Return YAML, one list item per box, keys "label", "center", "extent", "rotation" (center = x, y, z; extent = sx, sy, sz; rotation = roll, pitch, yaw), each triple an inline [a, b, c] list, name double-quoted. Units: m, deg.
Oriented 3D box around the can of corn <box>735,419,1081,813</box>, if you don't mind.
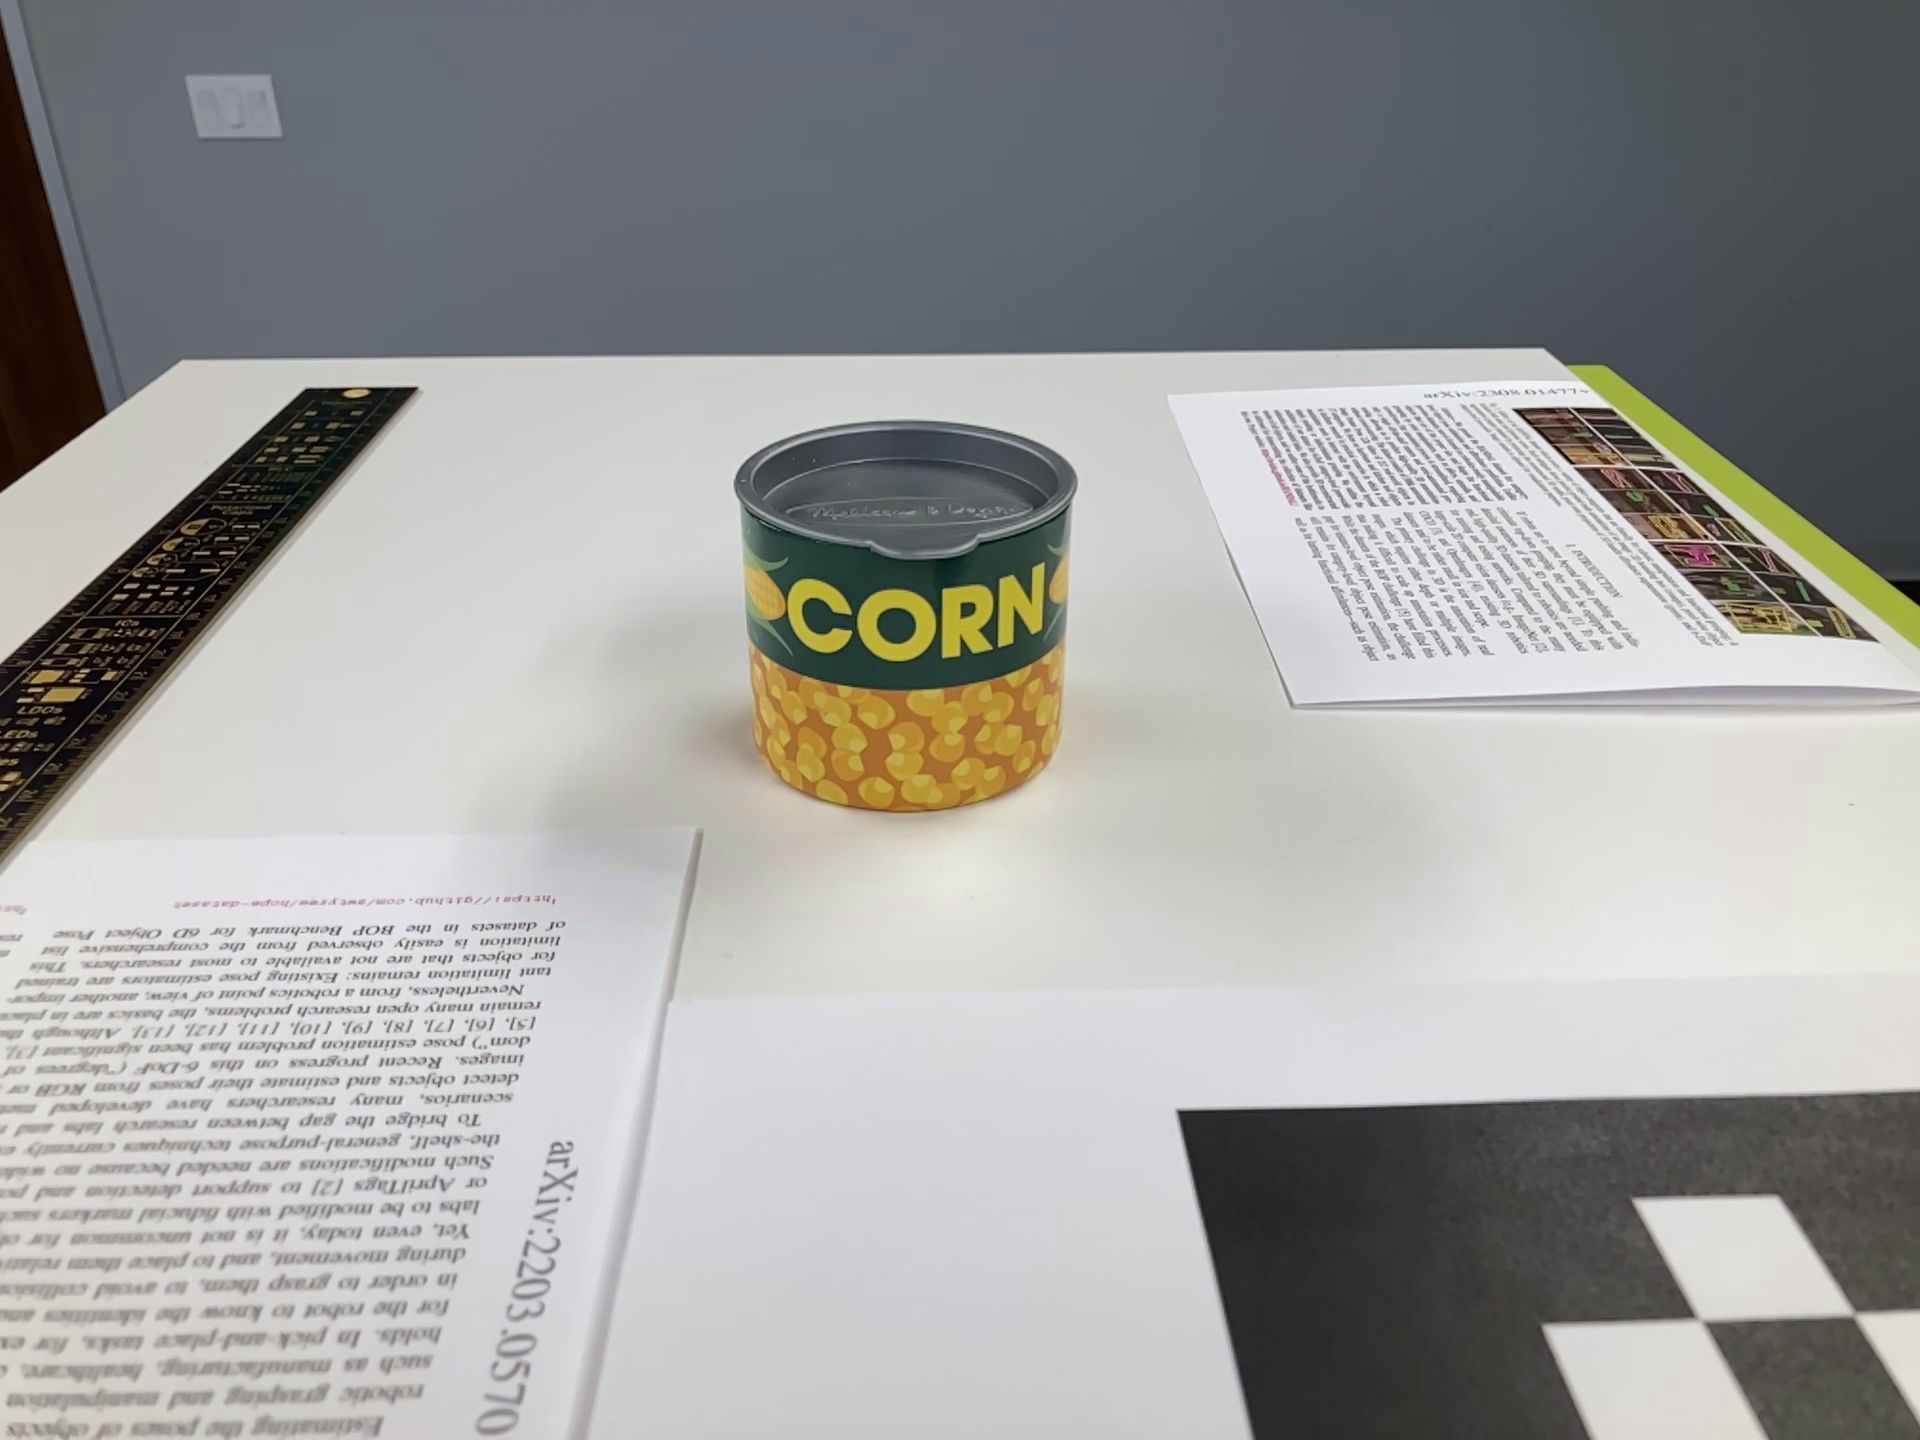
- label: "can of corn"
  center: [-0.010, -0.021, 0.316]
  extent: [0.071, 0.058, 0.071]
  rotation: [0, 29, 0]
